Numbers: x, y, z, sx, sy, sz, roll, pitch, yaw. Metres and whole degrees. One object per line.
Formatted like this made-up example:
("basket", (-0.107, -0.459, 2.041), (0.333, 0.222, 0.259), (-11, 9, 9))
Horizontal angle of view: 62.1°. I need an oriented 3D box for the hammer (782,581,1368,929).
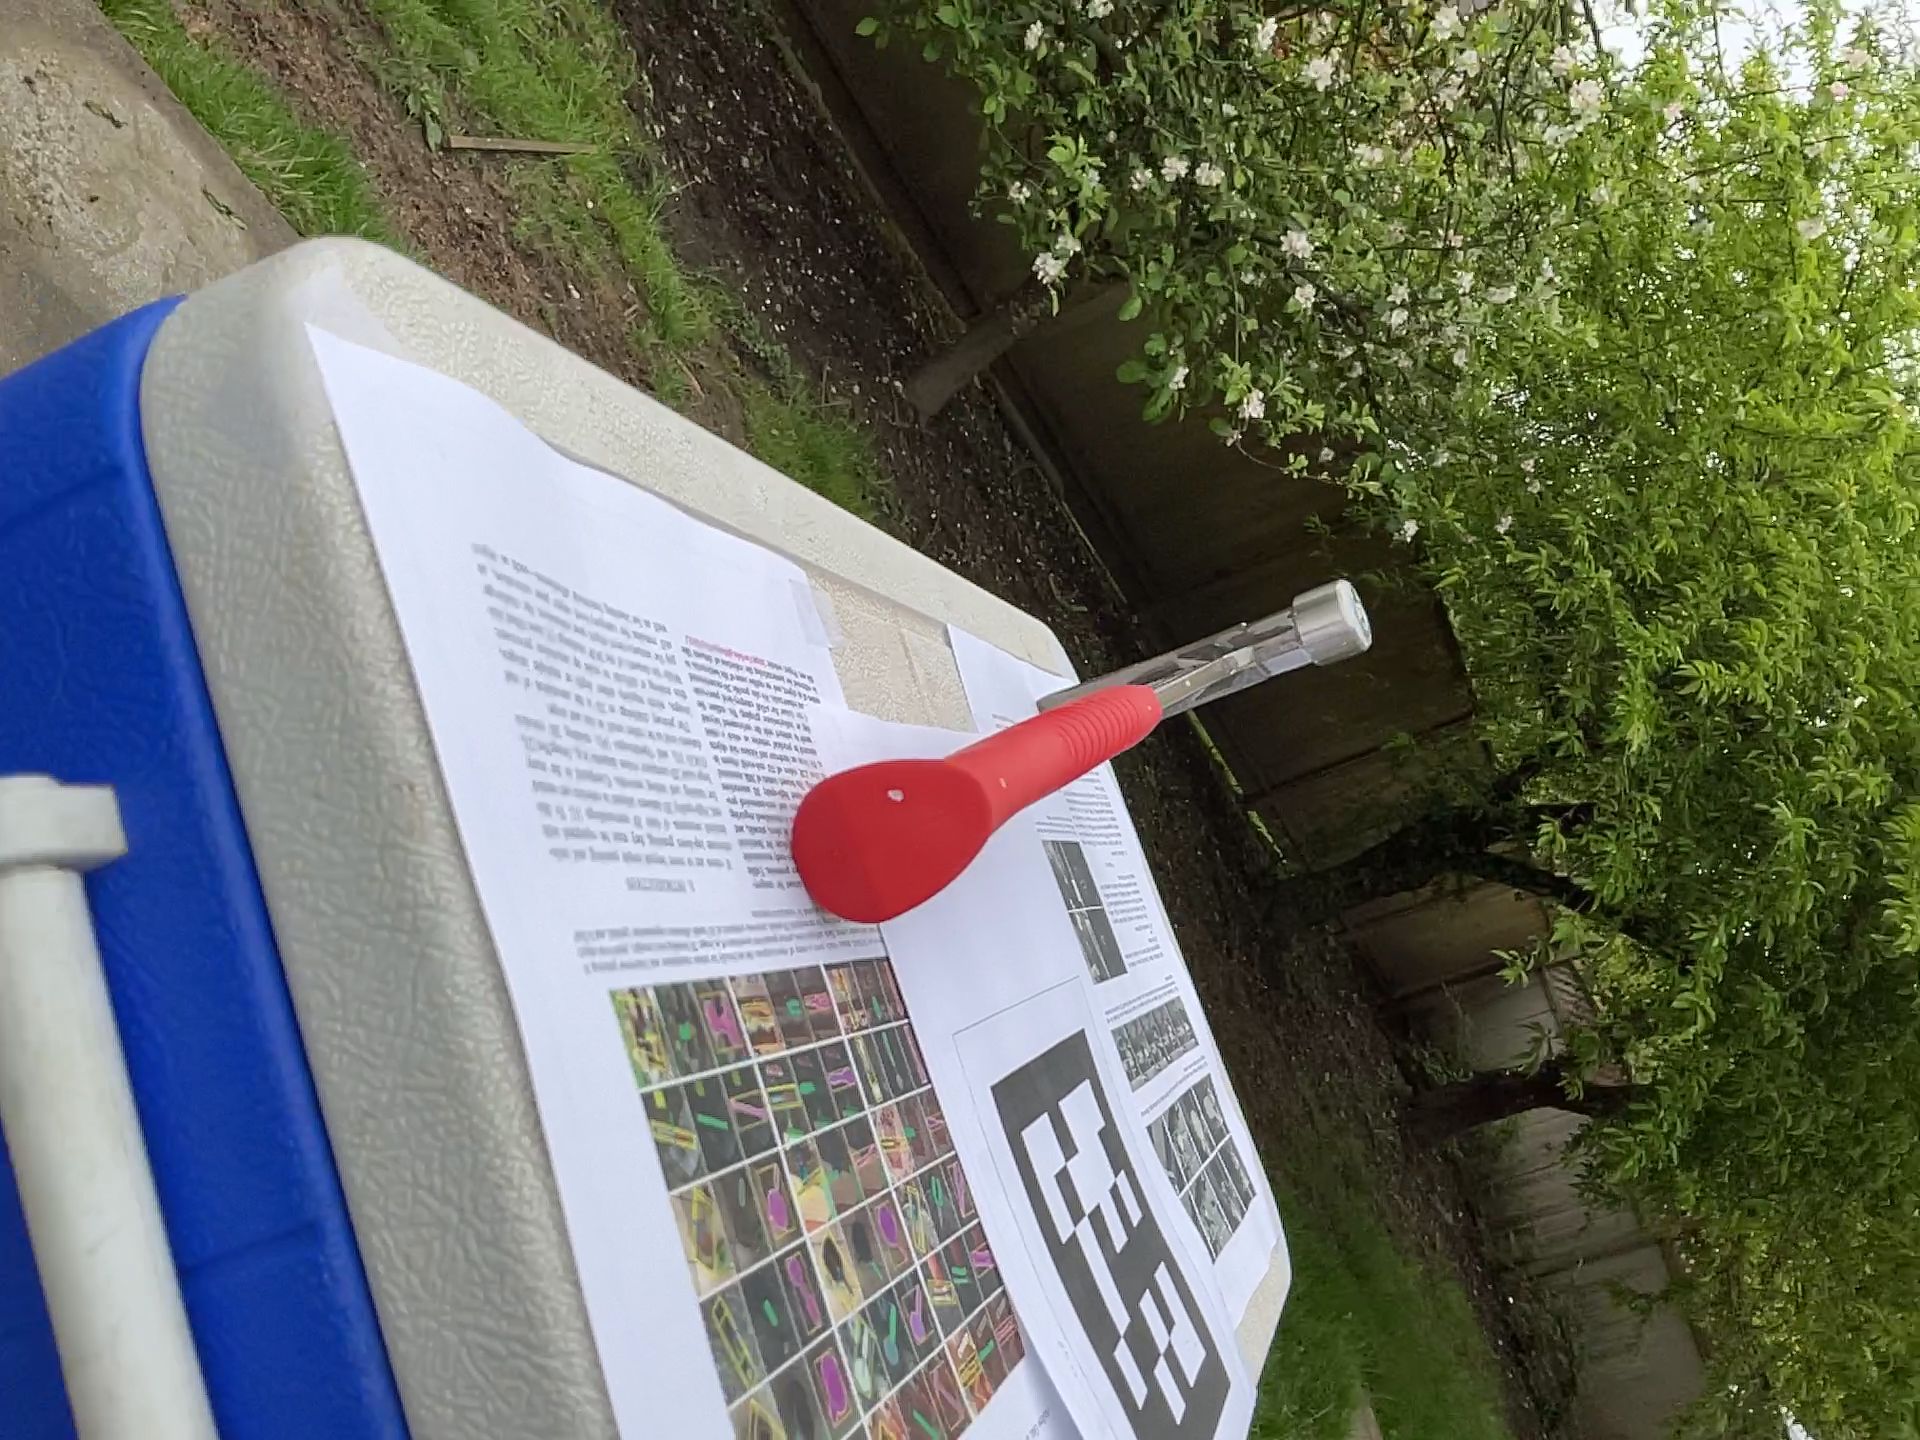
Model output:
("hammer", (0.034, 0.006, 0.532), (0.359, 0.149, 0.037), (-22, 90, -65))
